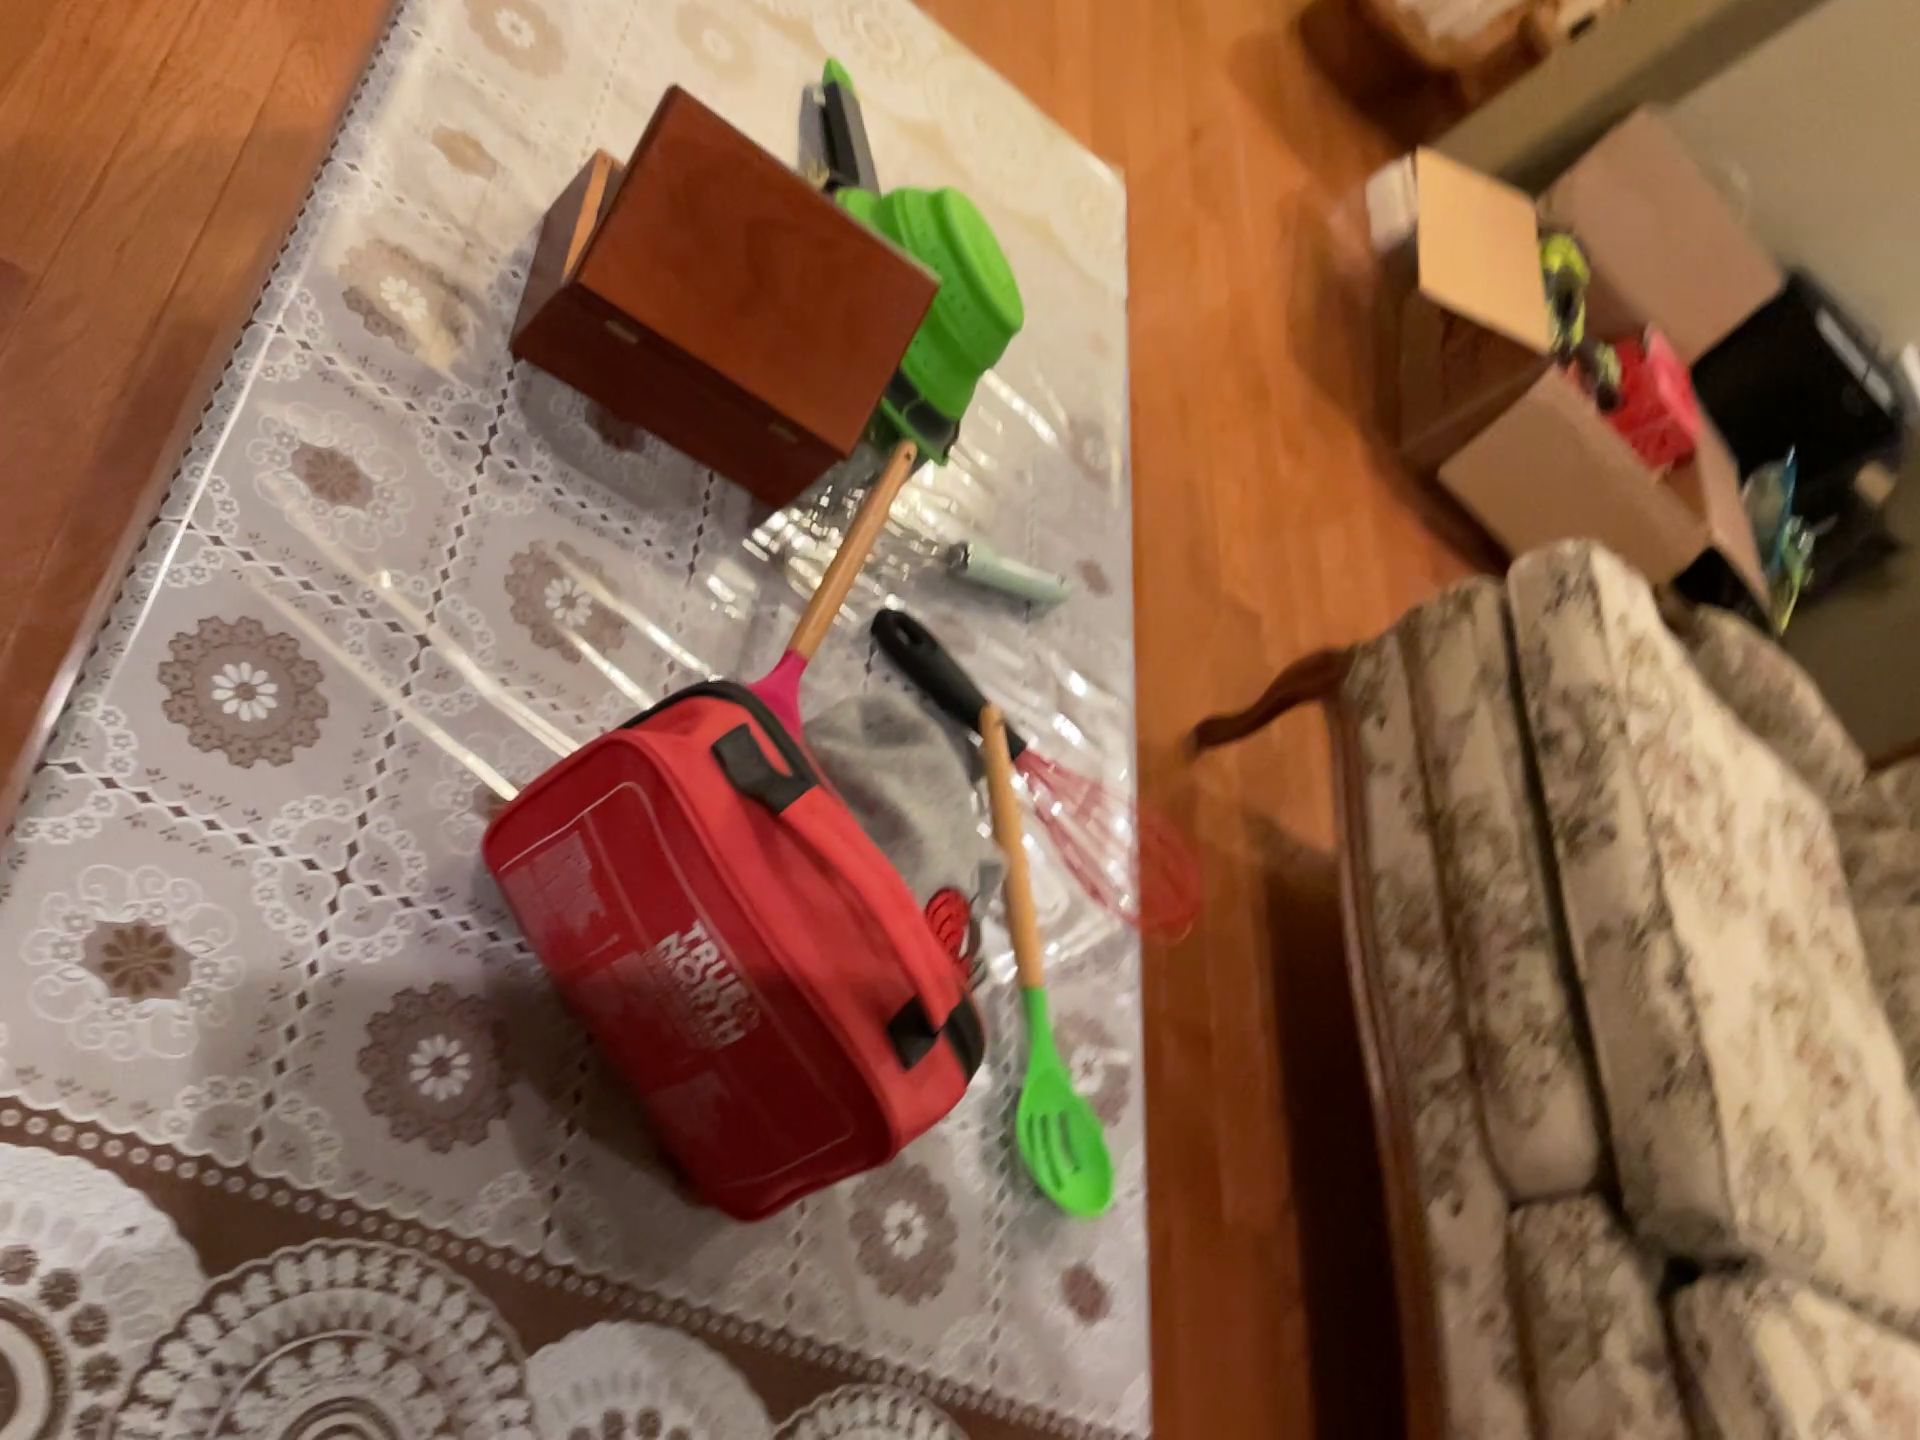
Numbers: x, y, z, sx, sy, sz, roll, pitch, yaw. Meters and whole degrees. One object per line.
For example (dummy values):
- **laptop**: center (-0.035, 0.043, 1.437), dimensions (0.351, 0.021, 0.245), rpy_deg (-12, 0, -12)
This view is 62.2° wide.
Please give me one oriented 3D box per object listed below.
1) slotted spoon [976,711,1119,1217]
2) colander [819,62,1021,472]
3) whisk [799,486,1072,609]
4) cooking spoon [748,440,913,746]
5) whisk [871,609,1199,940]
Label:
- **slotted spoon**: center (0.042, 0.140, 0.958), dimensions (0.070, 0.031, 0.314), rpy_deg (11, 60, -42)
- **colander**: center (-0.036, -0.365, 1.145), dimensions (0.204, 0.094, 0.398), rpy_deg (40, 31, -50)
- **whisk**: center (-0.009, -0.109, 1.084), dimensions (0.246, 0.059, 0.058), rpy_deg (12, 99, -44)
- **cooking spoon**: center (-0.087, -0.054, 0.934), dimensions (0.068, 0.017, 0.319), rpy_deg (40, 53, -23)
- **whisk**: center (0.051, 0.035, 1.036), dimensions (0.296, 0.073, 0.073), rpy_deg (45, 47, -6)
